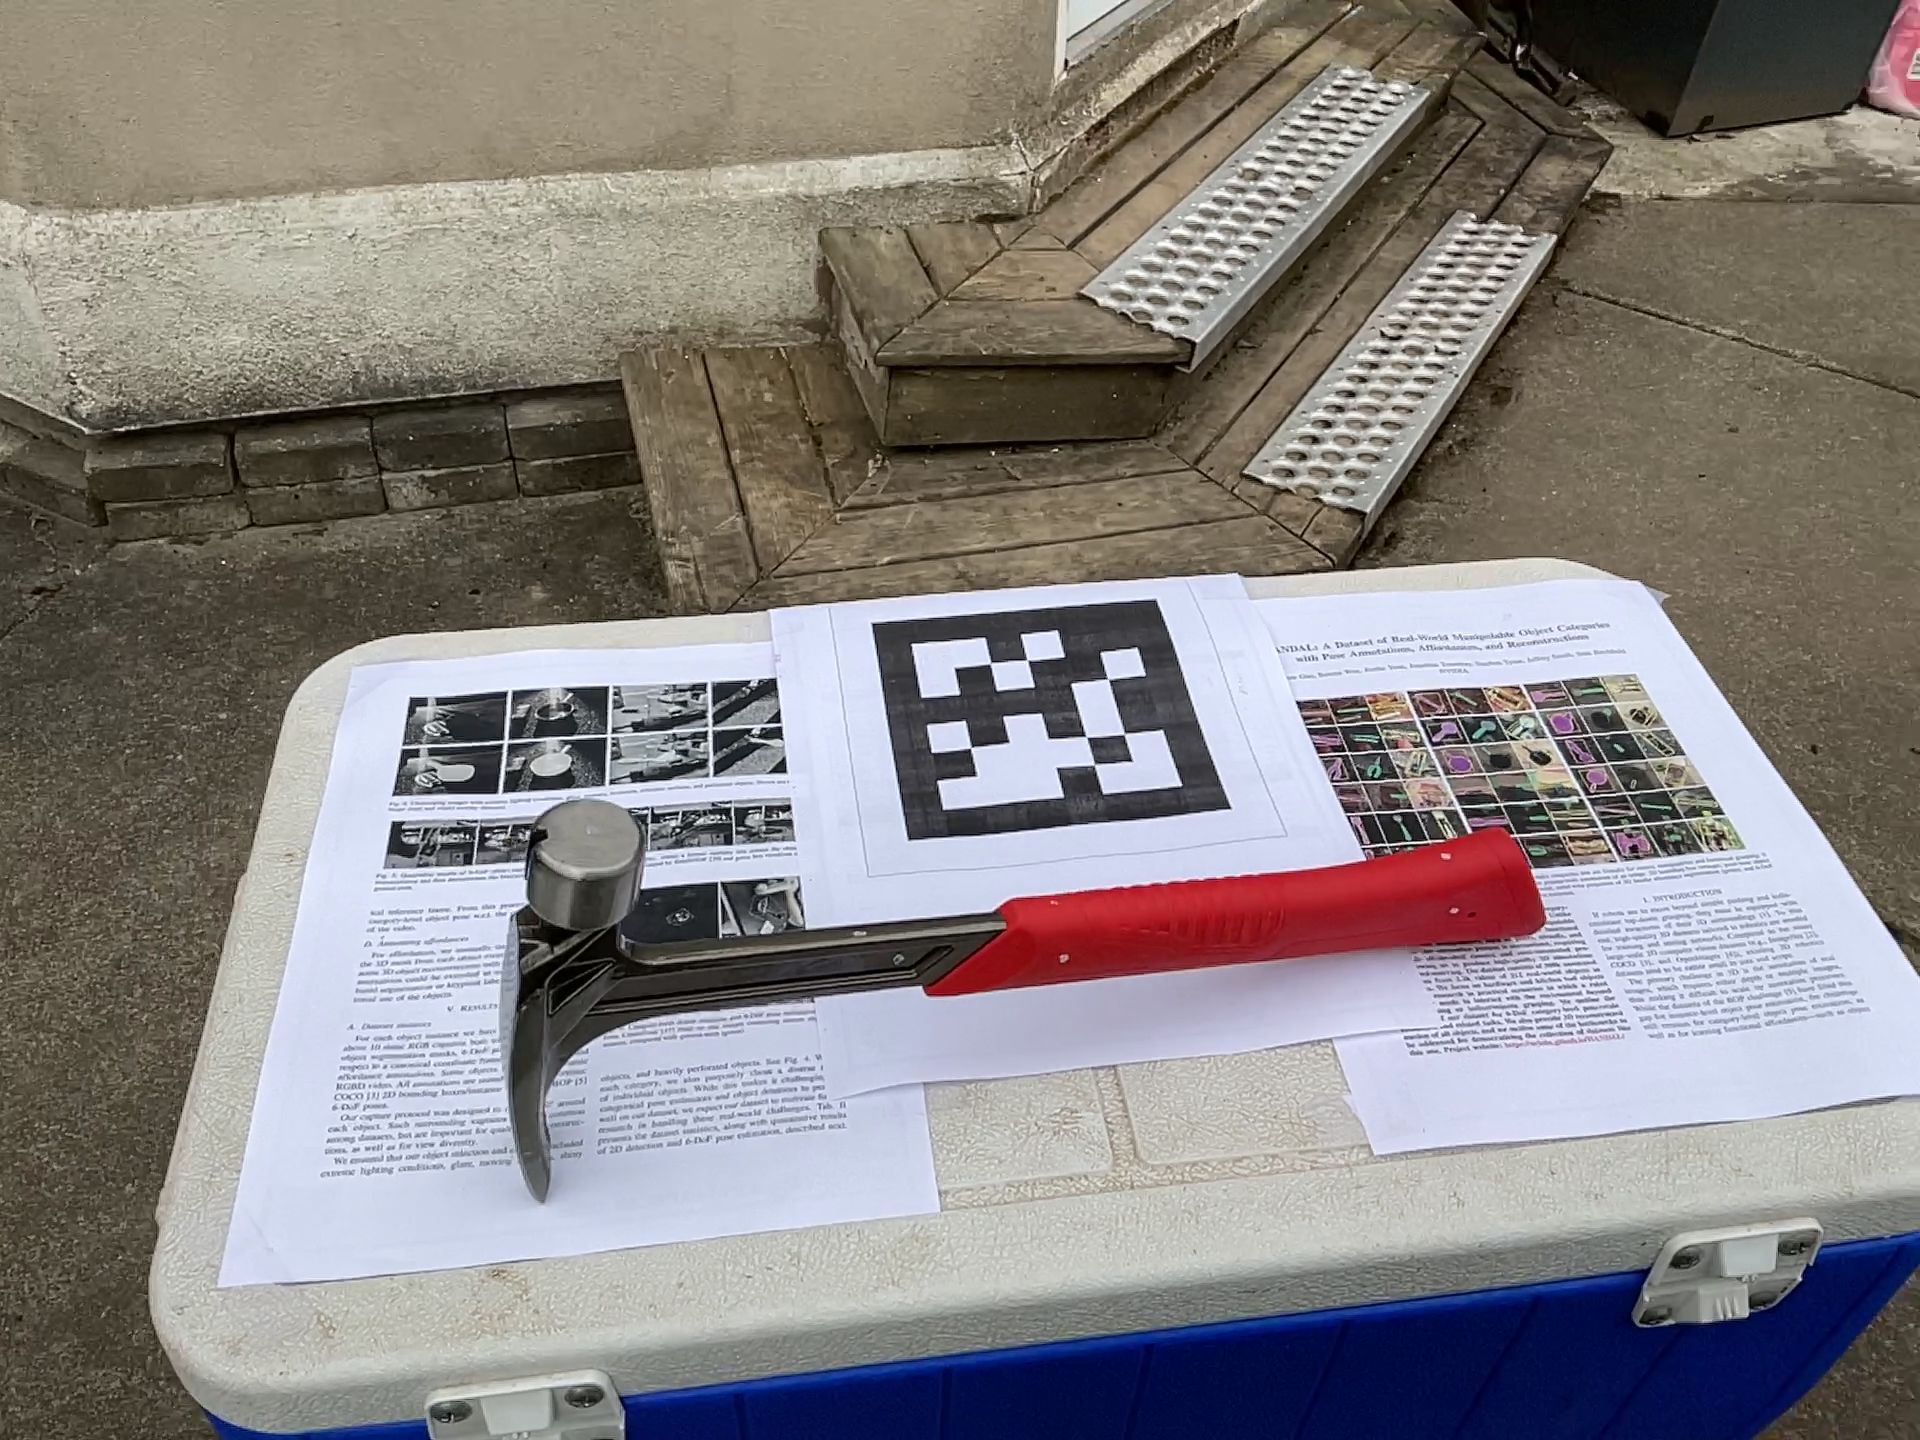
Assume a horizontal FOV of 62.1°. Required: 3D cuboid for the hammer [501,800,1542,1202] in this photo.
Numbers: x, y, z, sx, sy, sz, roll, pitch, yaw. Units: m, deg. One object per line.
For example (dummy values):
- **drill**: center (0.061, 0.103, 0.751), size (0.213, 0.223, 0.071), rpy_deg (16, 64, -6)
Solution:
- **hammer**: center (0.035, 0.080, 0.529), size (0.359, 0.149, 0.037), rpy_deg (-2, 41, -22)
